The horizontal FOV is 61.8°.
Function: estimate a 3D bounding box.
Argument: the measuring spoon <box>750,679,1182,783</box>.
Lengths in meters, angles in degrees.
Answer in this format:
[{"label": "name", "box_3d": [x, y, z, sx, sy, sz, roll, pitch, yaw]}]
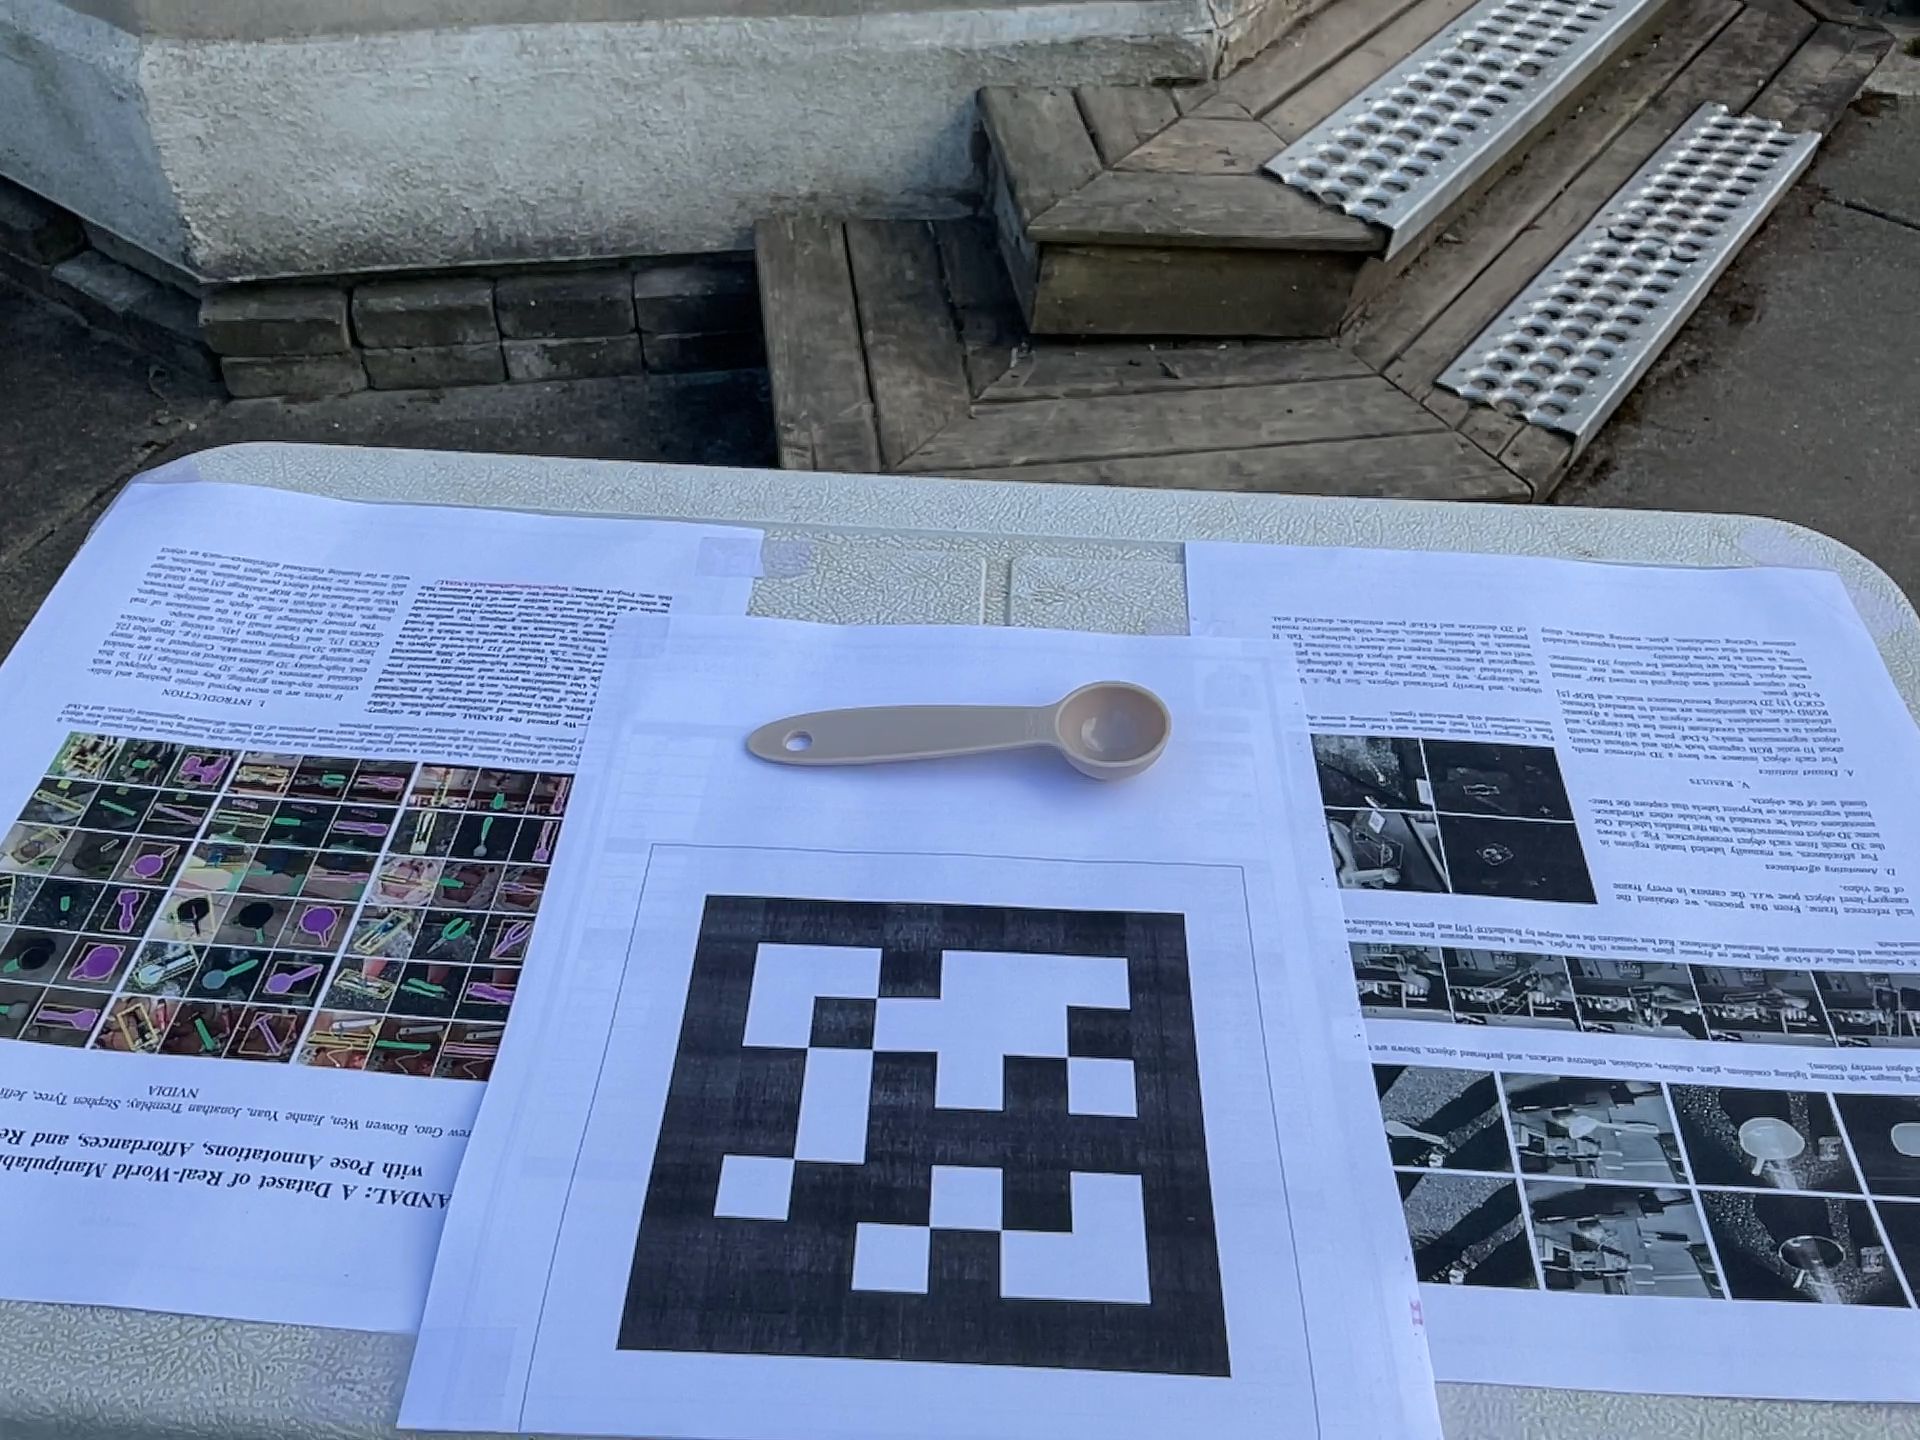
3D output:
[{"label": "measuring spoon", "box_3d": [0.001, 0.008, 0.463, 0.124, 0.018, 0.034, -2, 47, 6]}]
